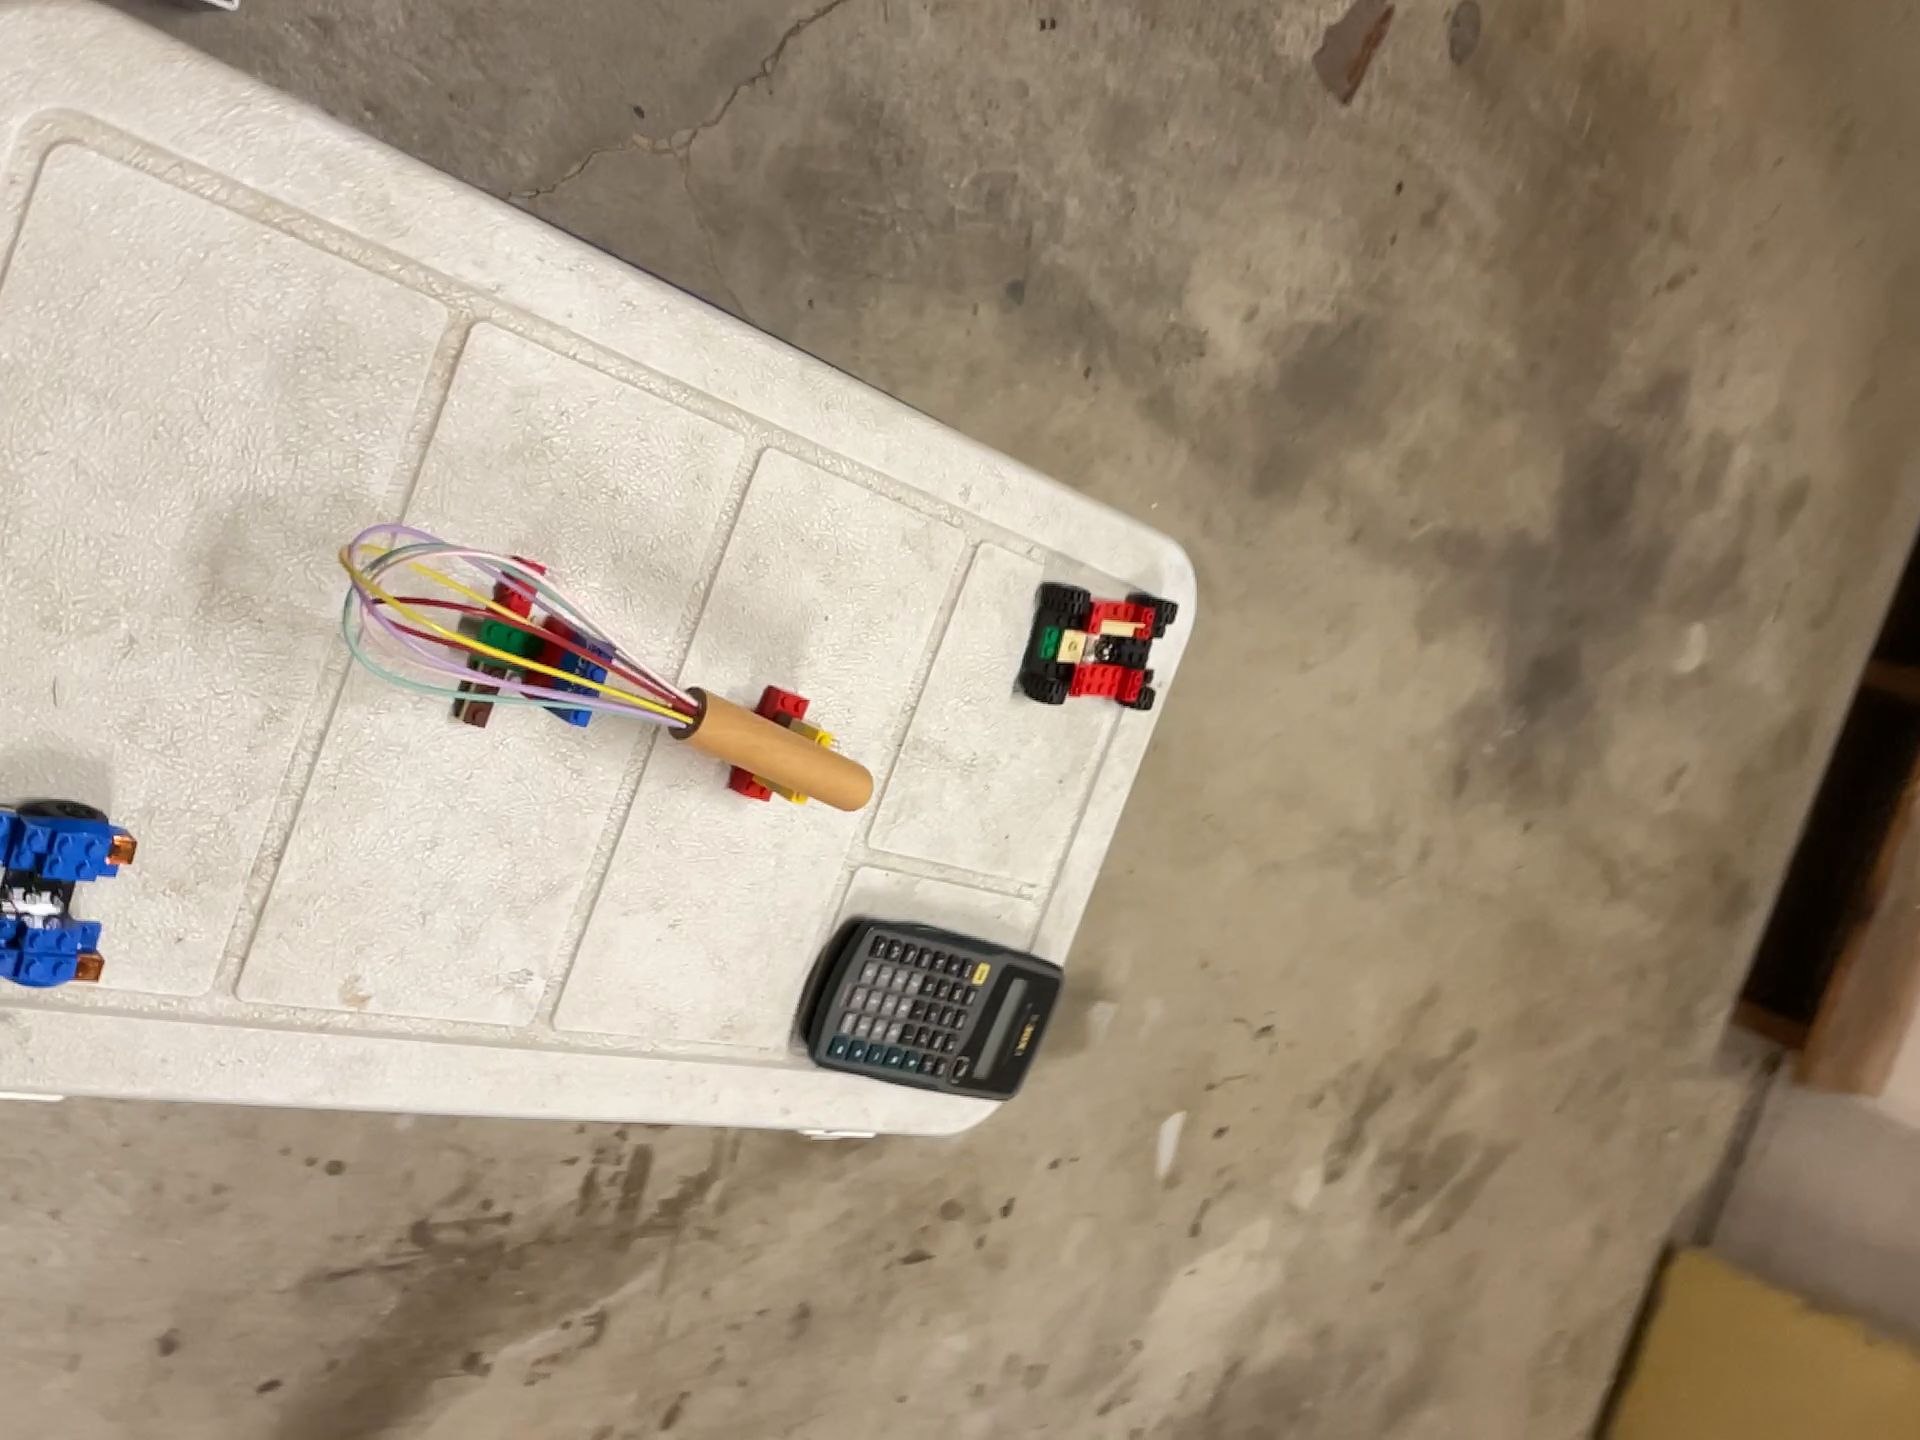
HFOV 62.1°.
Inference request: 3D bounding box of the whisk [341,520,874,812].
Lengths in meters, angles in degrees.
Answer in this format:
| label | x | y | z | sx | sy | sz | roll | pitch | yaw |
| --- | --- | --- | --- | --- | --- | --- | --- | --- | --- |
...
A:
| label | x | y | z | sx | sy | sz | roll | pitch | yaw |
| --- | --- | --- | --- | --- | --- | --- | --- | --- | --- |
| whisk | -0.113 | -0.007 | 0.567 | 0.245 | 0.047 | 0.051 | 29 | 74 | -48 |
